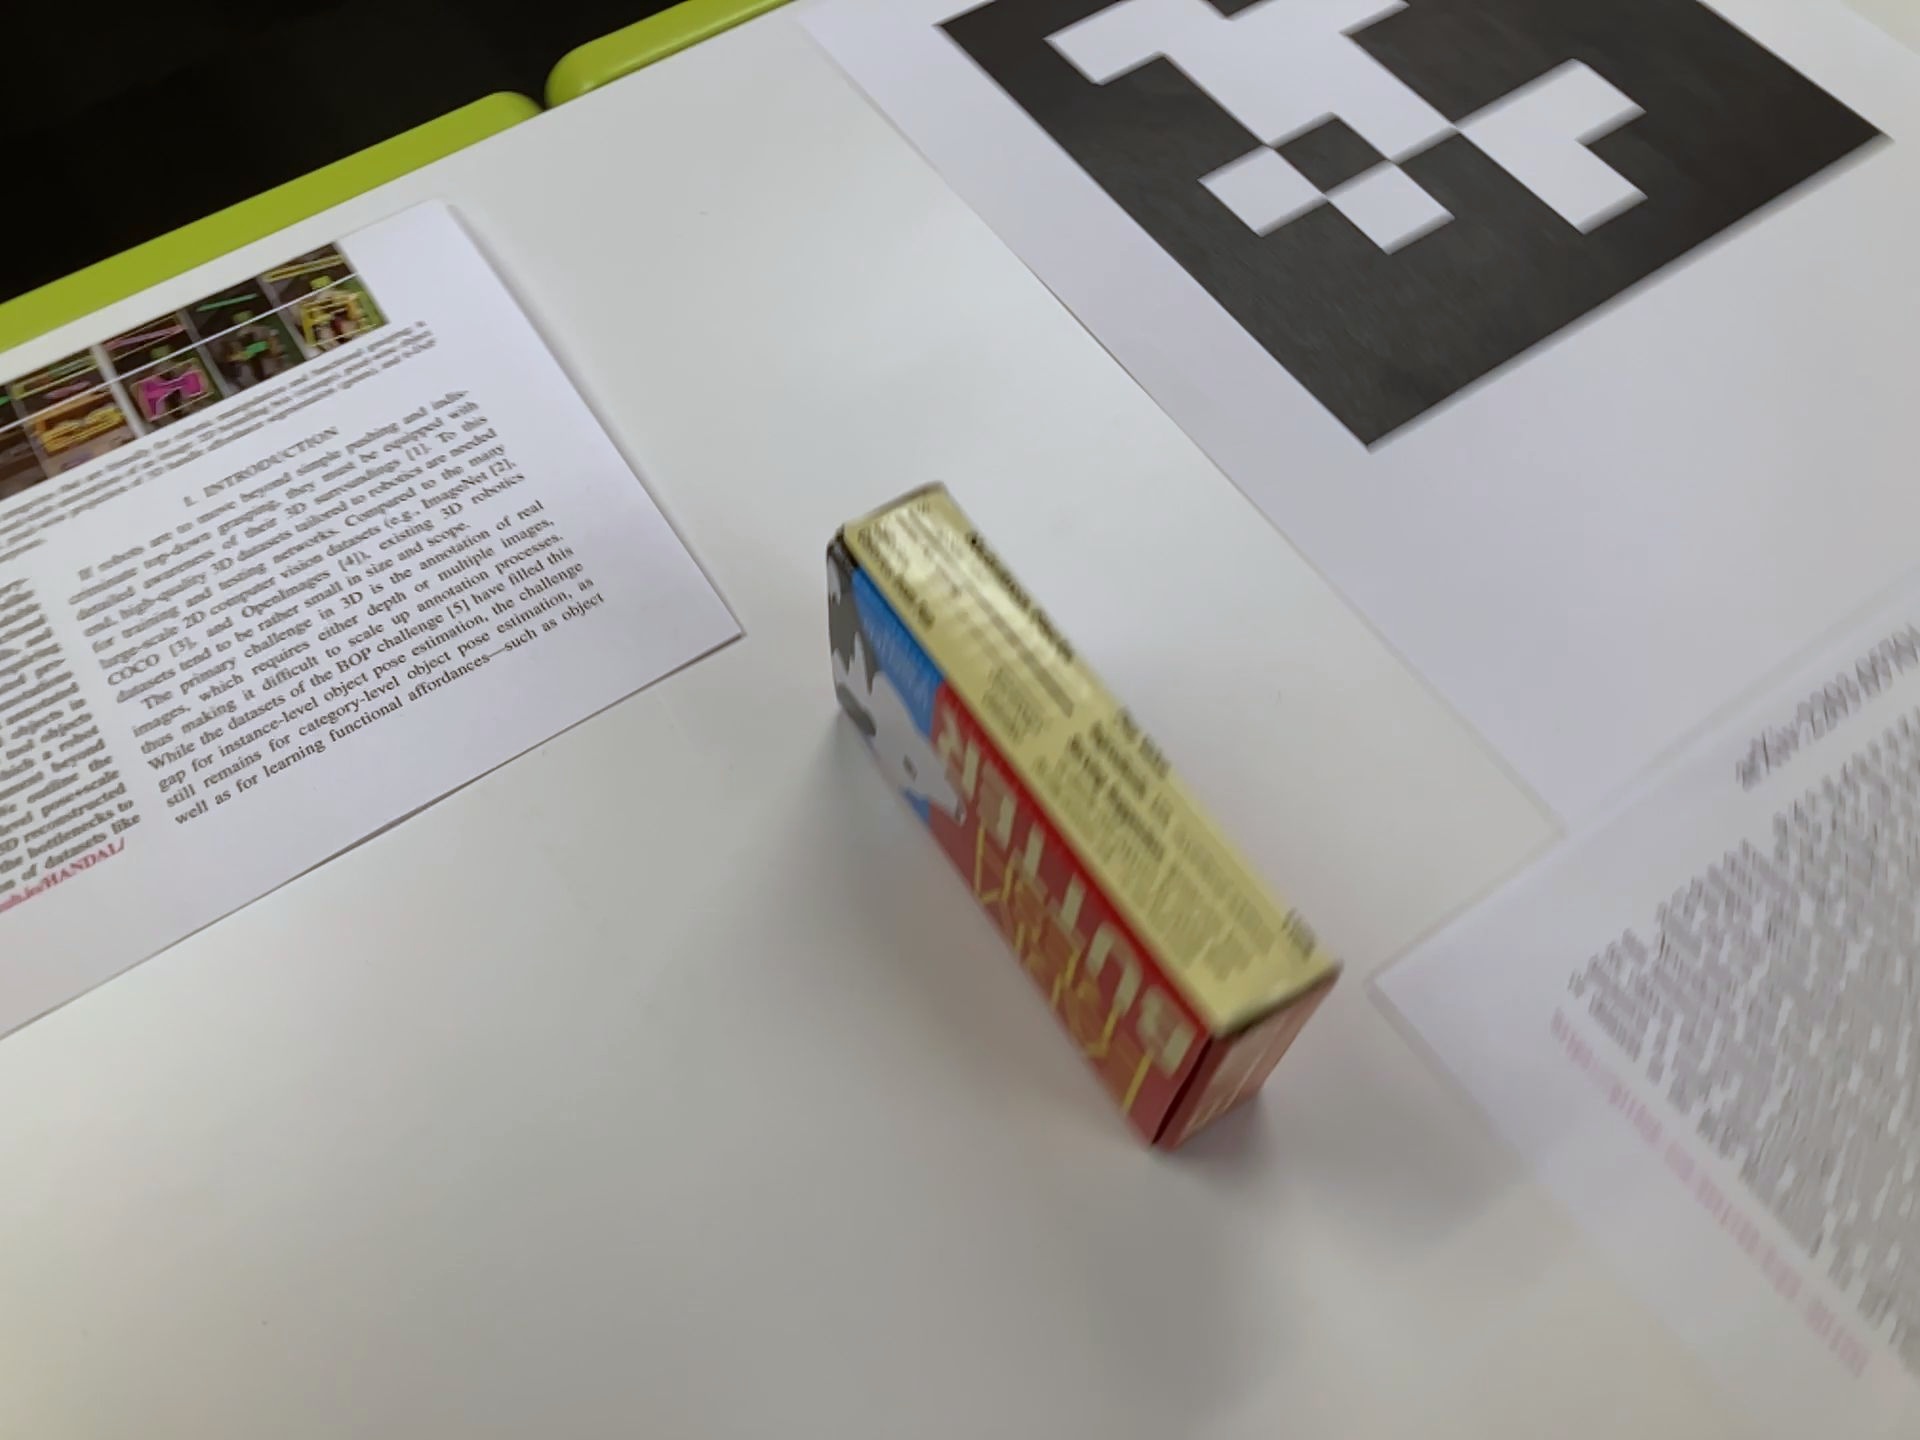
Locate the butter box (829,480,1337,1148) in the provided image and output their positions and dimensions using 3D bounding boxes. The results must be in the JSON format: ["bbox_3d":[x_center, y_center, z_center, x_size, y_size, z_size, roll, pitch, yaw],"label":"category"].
[{"bbox_3d":[0.014,0.015,0.257,0.024,0.053,0.103,-29,65,-18],"label":"butter box"}]
